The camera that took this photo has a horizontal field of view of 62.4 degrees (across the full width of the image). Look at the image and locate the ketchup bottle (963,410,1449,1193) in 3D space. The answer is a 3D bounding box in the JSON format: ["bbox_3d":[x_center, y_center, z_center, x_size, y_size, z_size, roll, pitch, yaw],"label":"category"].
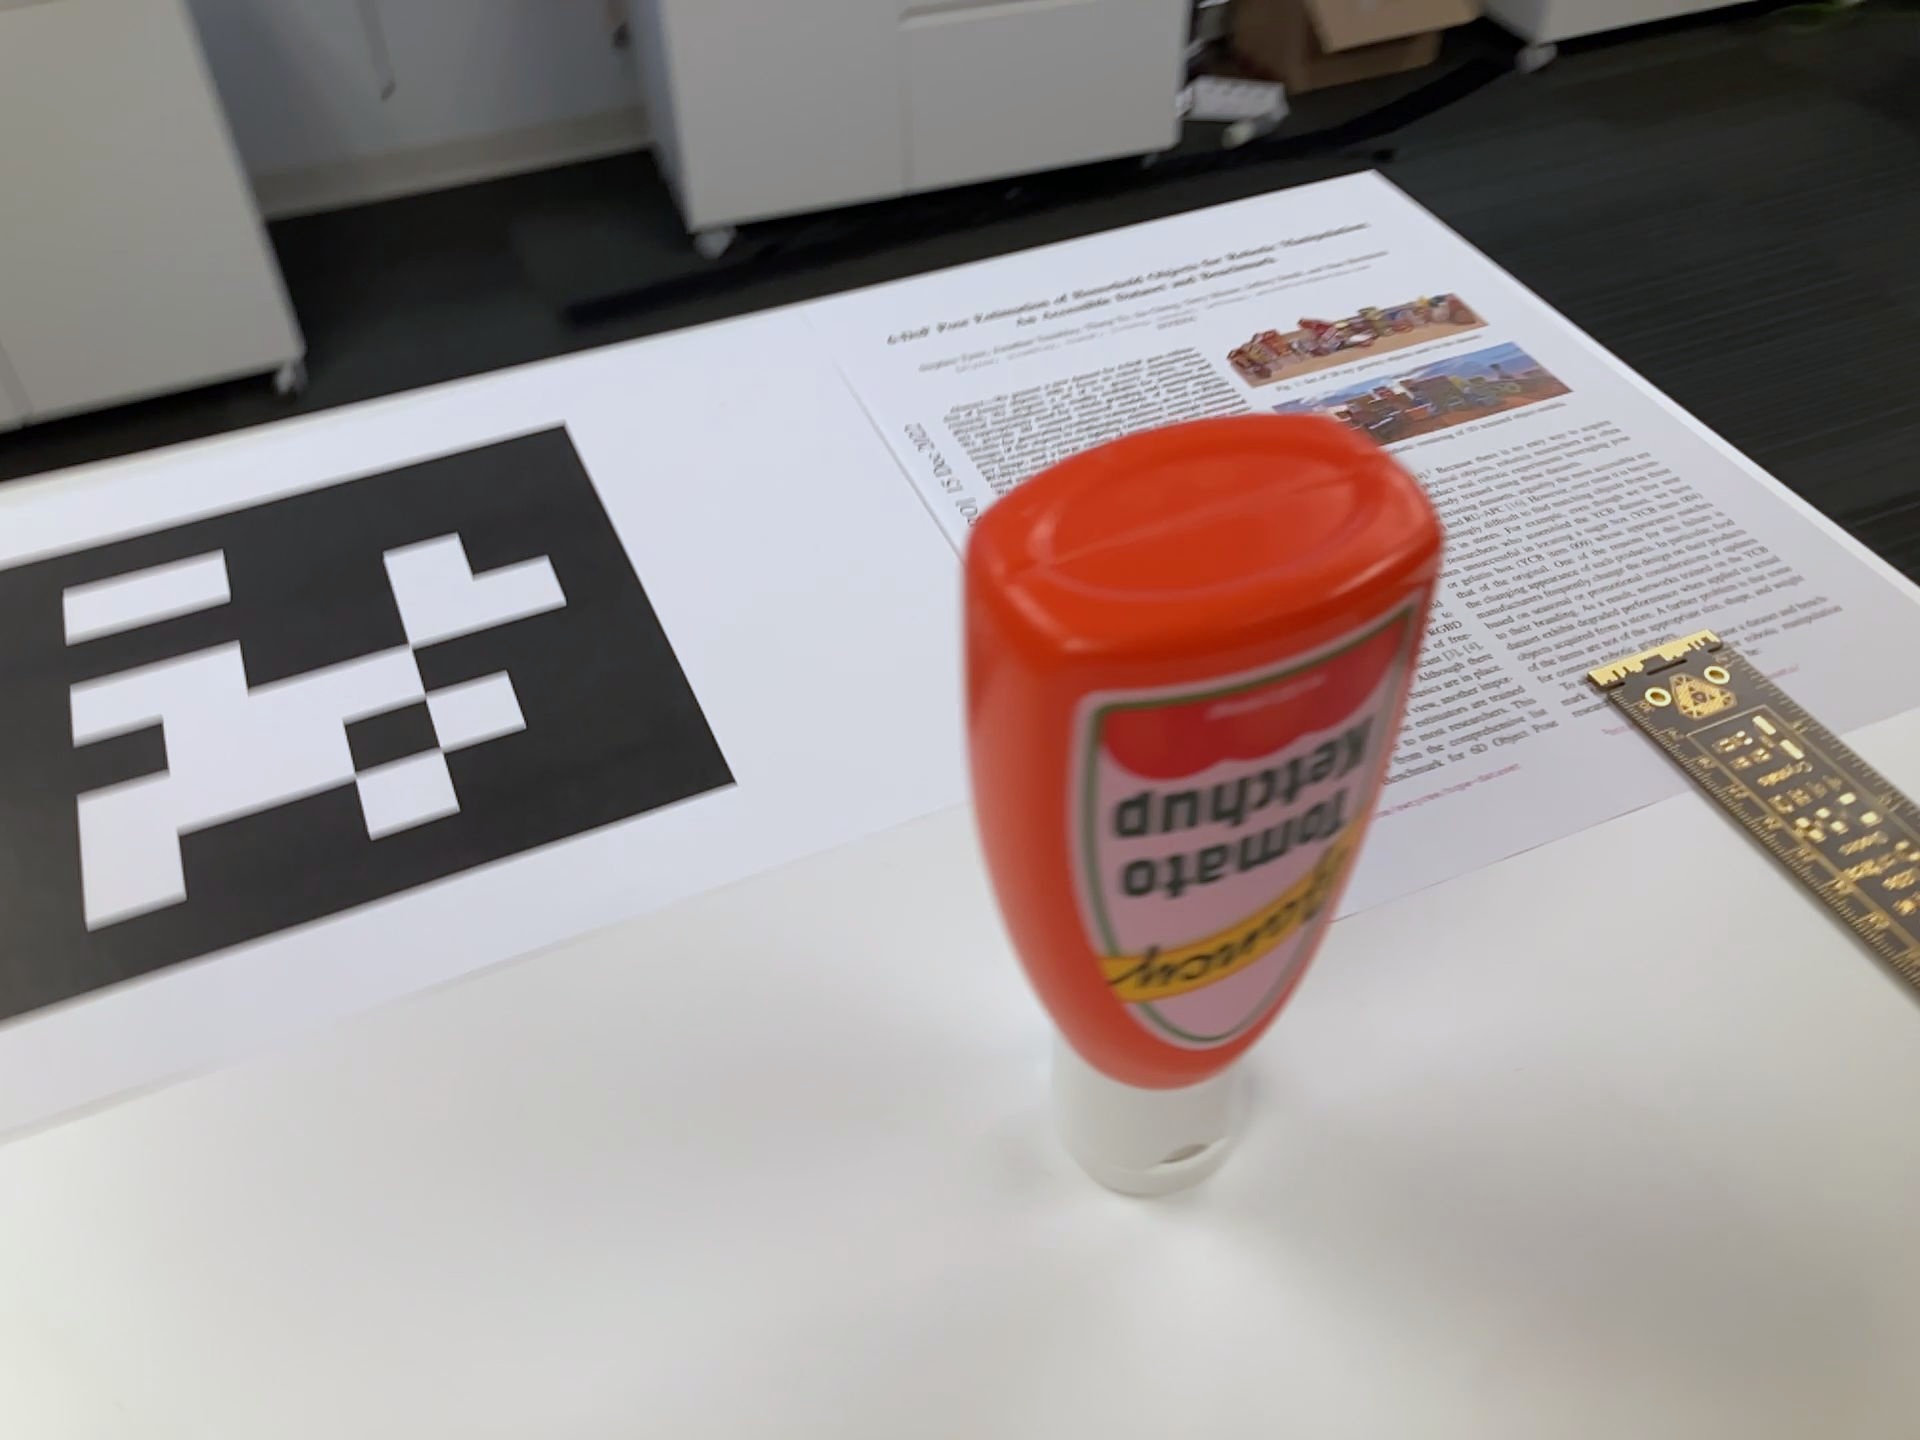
[{"bbox_3d":[0.034,0.024,0.256,0.065,0.149,0.043,-18,48,-14],"label":"ketchup bottle"}]
